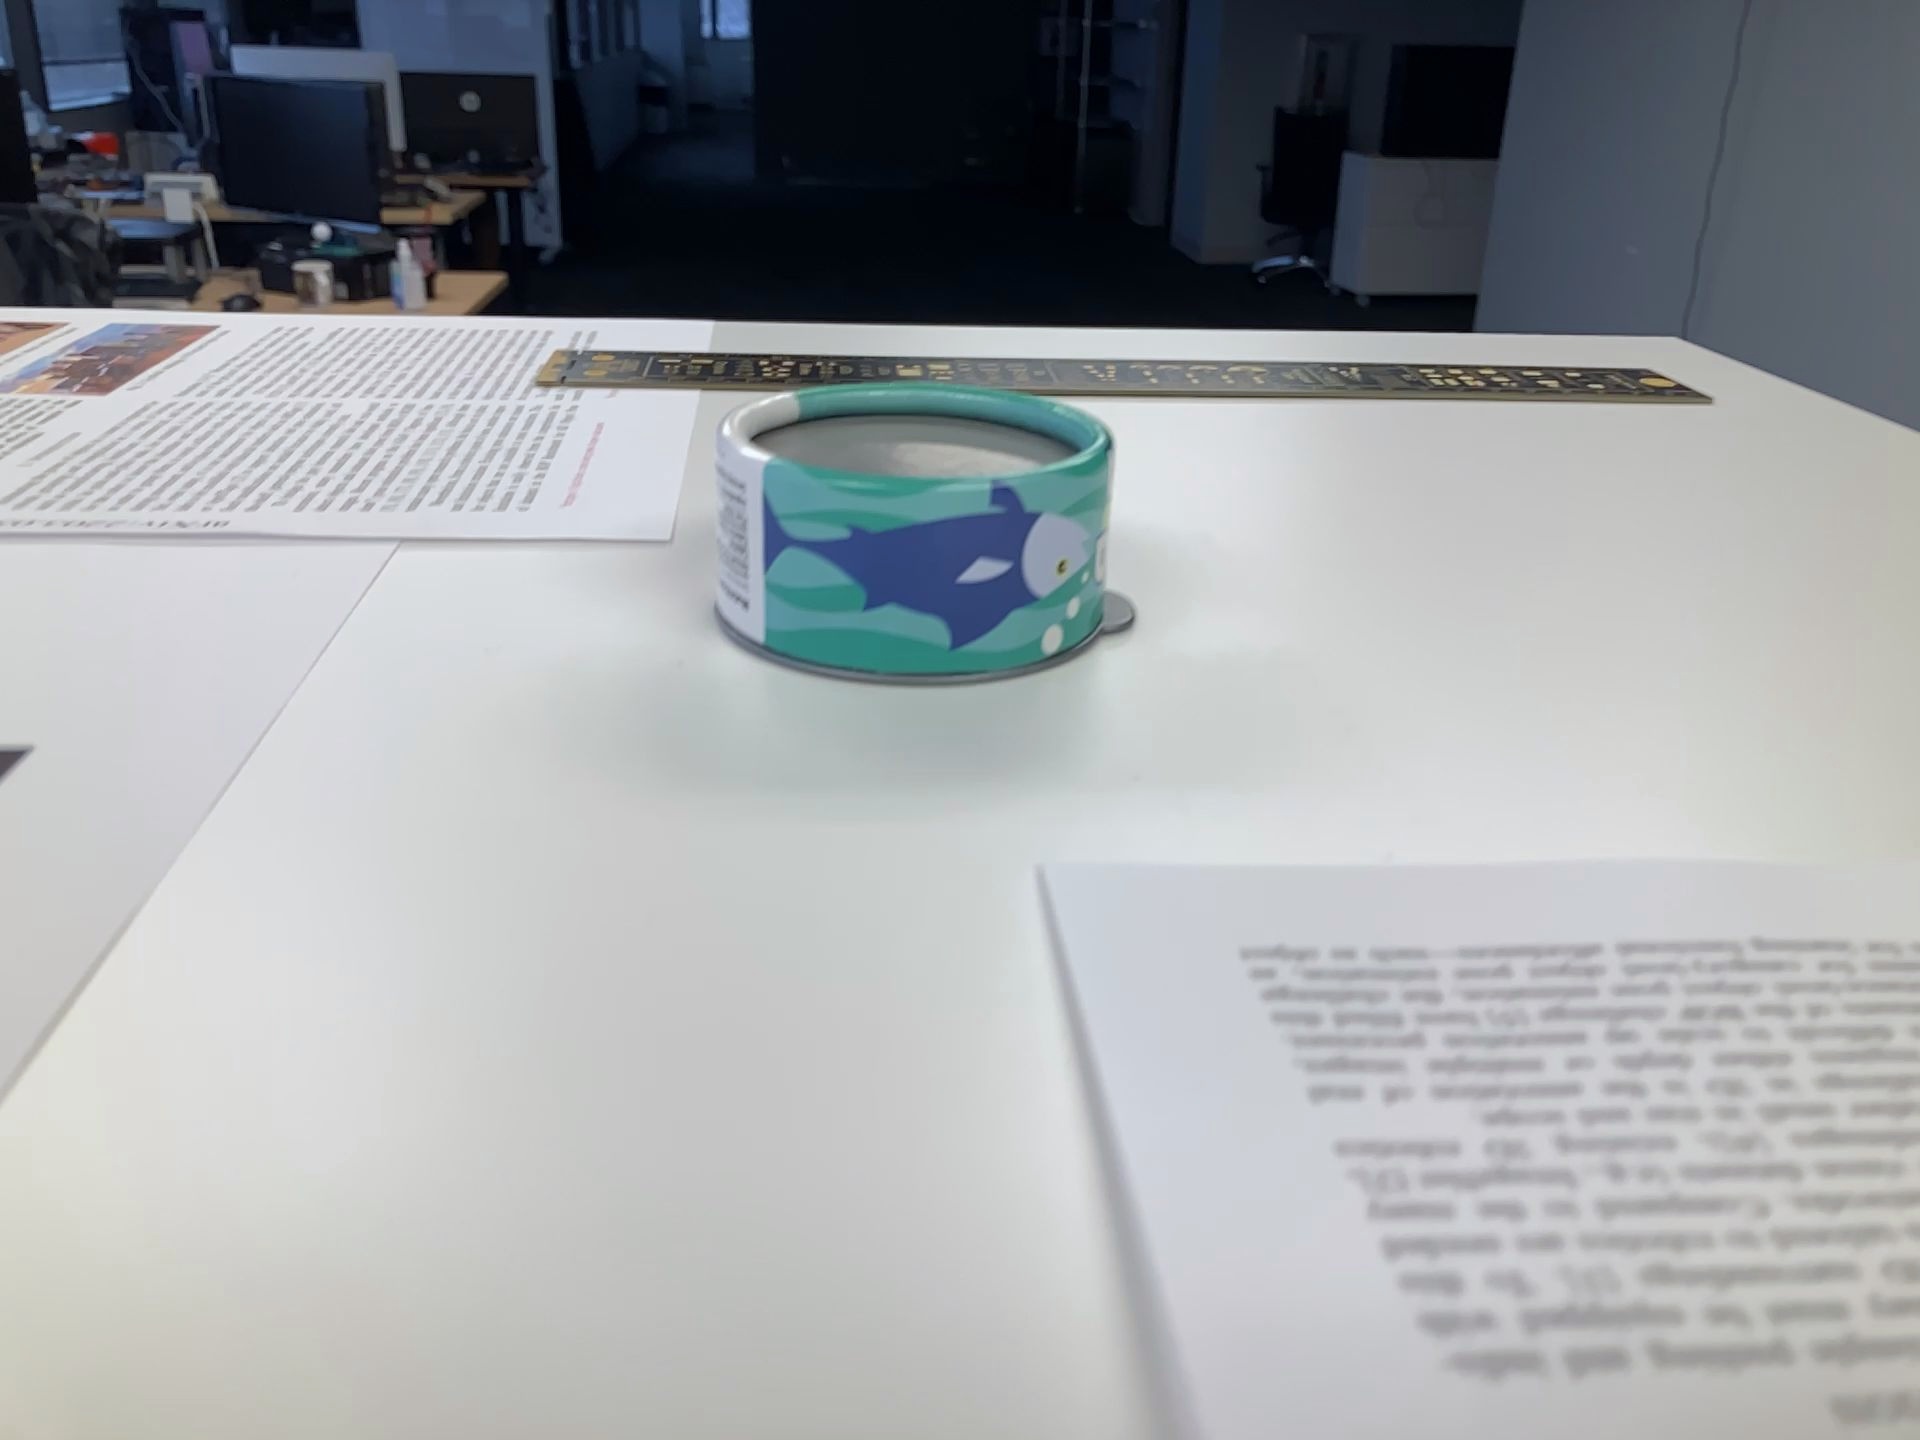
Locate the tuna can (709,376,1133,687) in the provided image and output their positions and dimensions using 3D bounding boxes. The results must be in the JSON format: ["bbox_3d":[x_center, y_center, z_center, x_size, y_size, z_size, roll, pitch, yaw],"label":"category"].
[{"bbox_3d":[-0.006,-0.033,0.261,0.071,0.033,0.071,3,25,-1],"label":"tuna can"}]
